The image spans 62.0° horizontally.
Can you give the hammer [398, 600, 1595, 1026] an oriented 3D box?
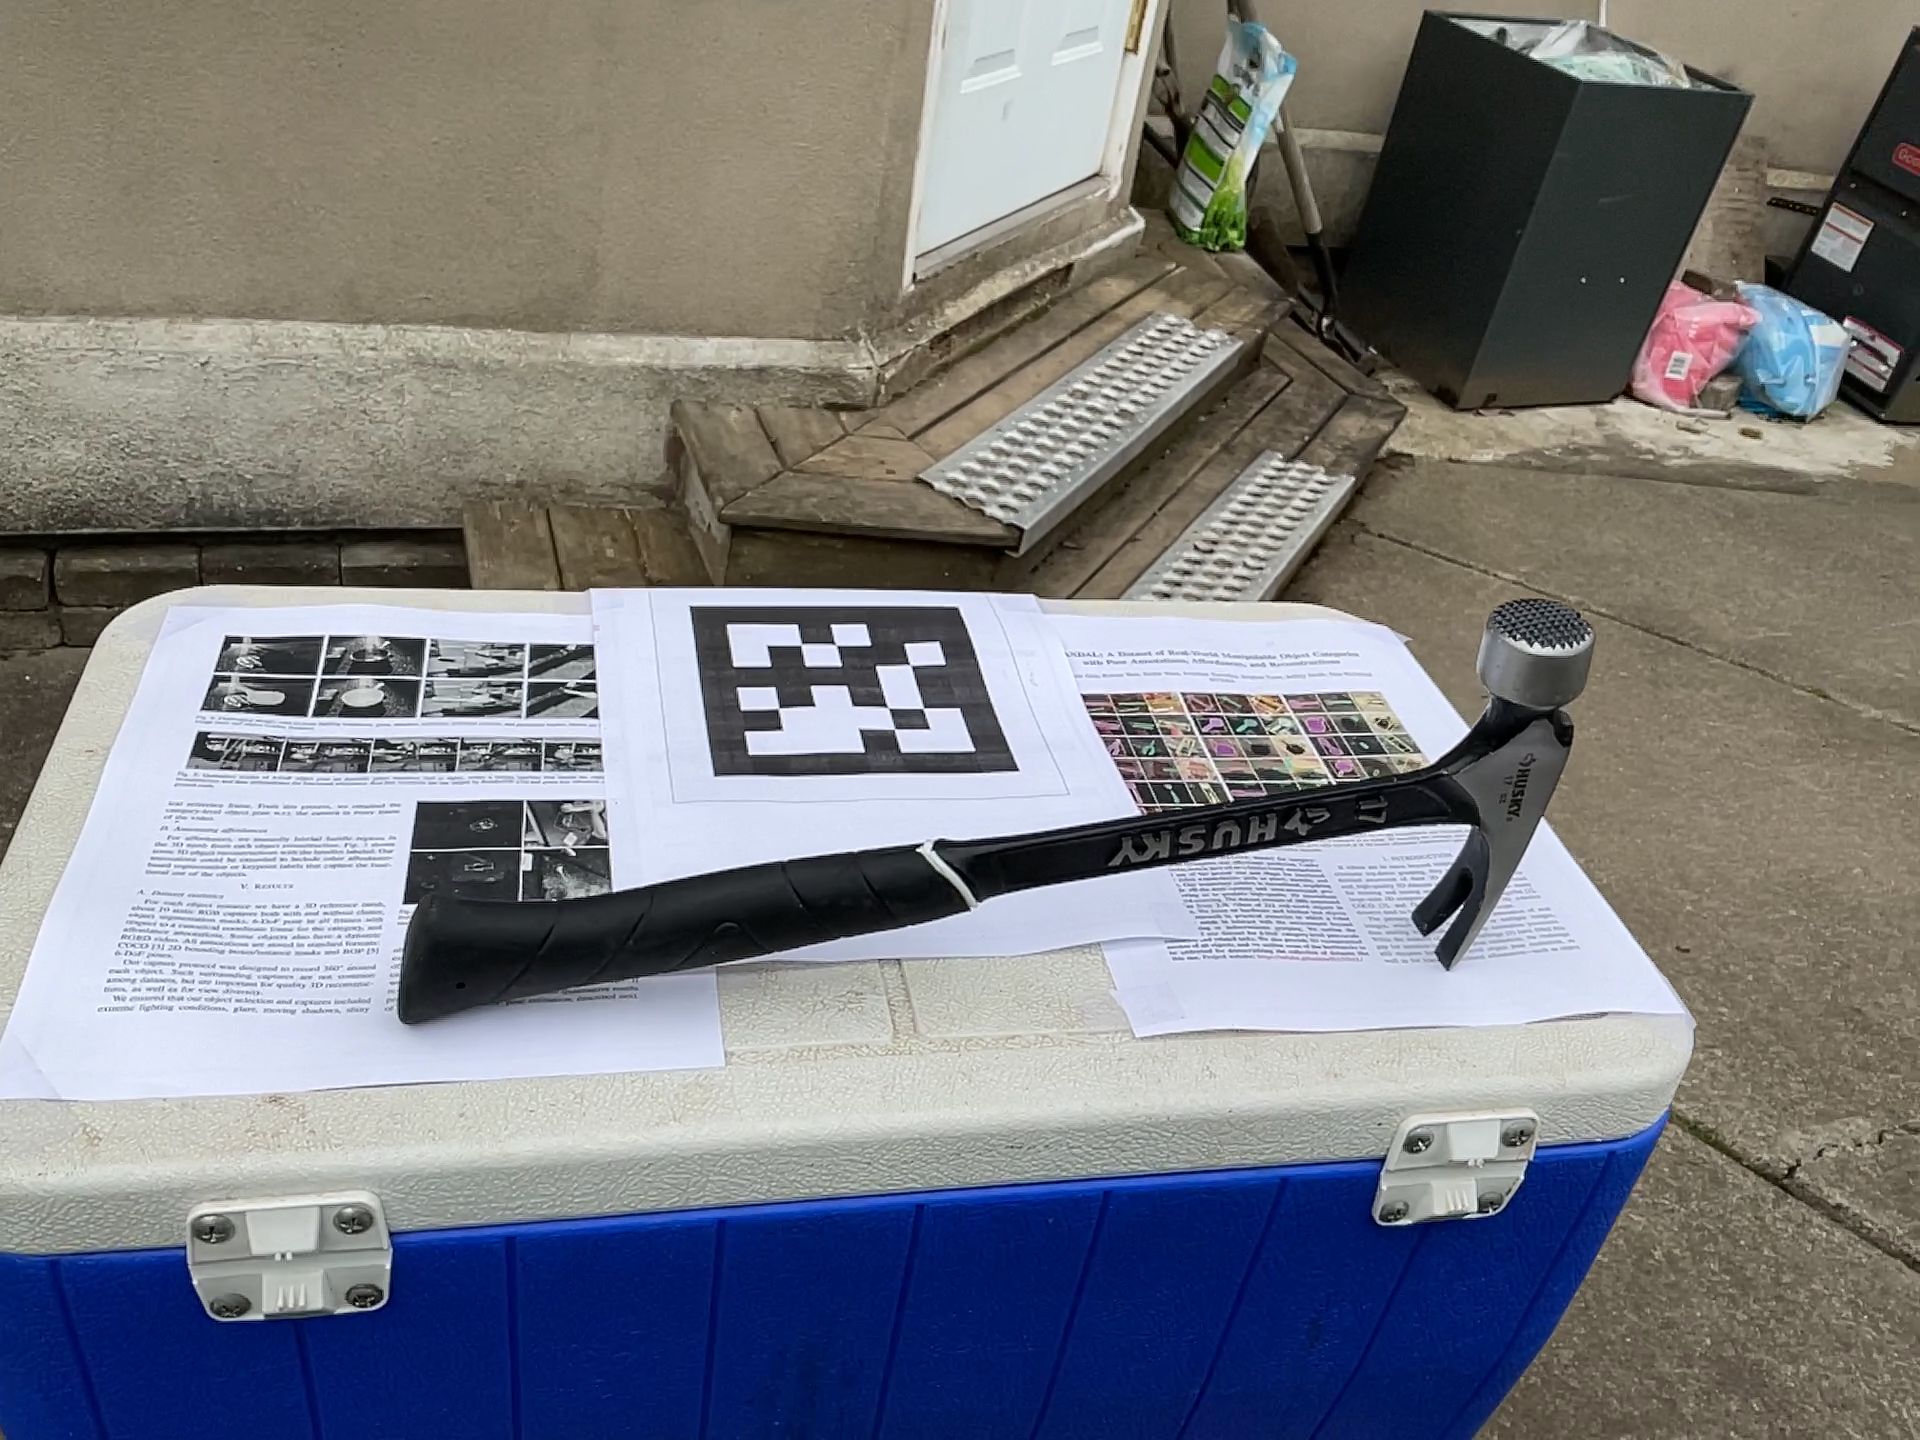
[{"bbox_3d":[0.016,0.054,0.552,0.409,0.149,0.036,-9,37,-10],"label":"hammer"}]
